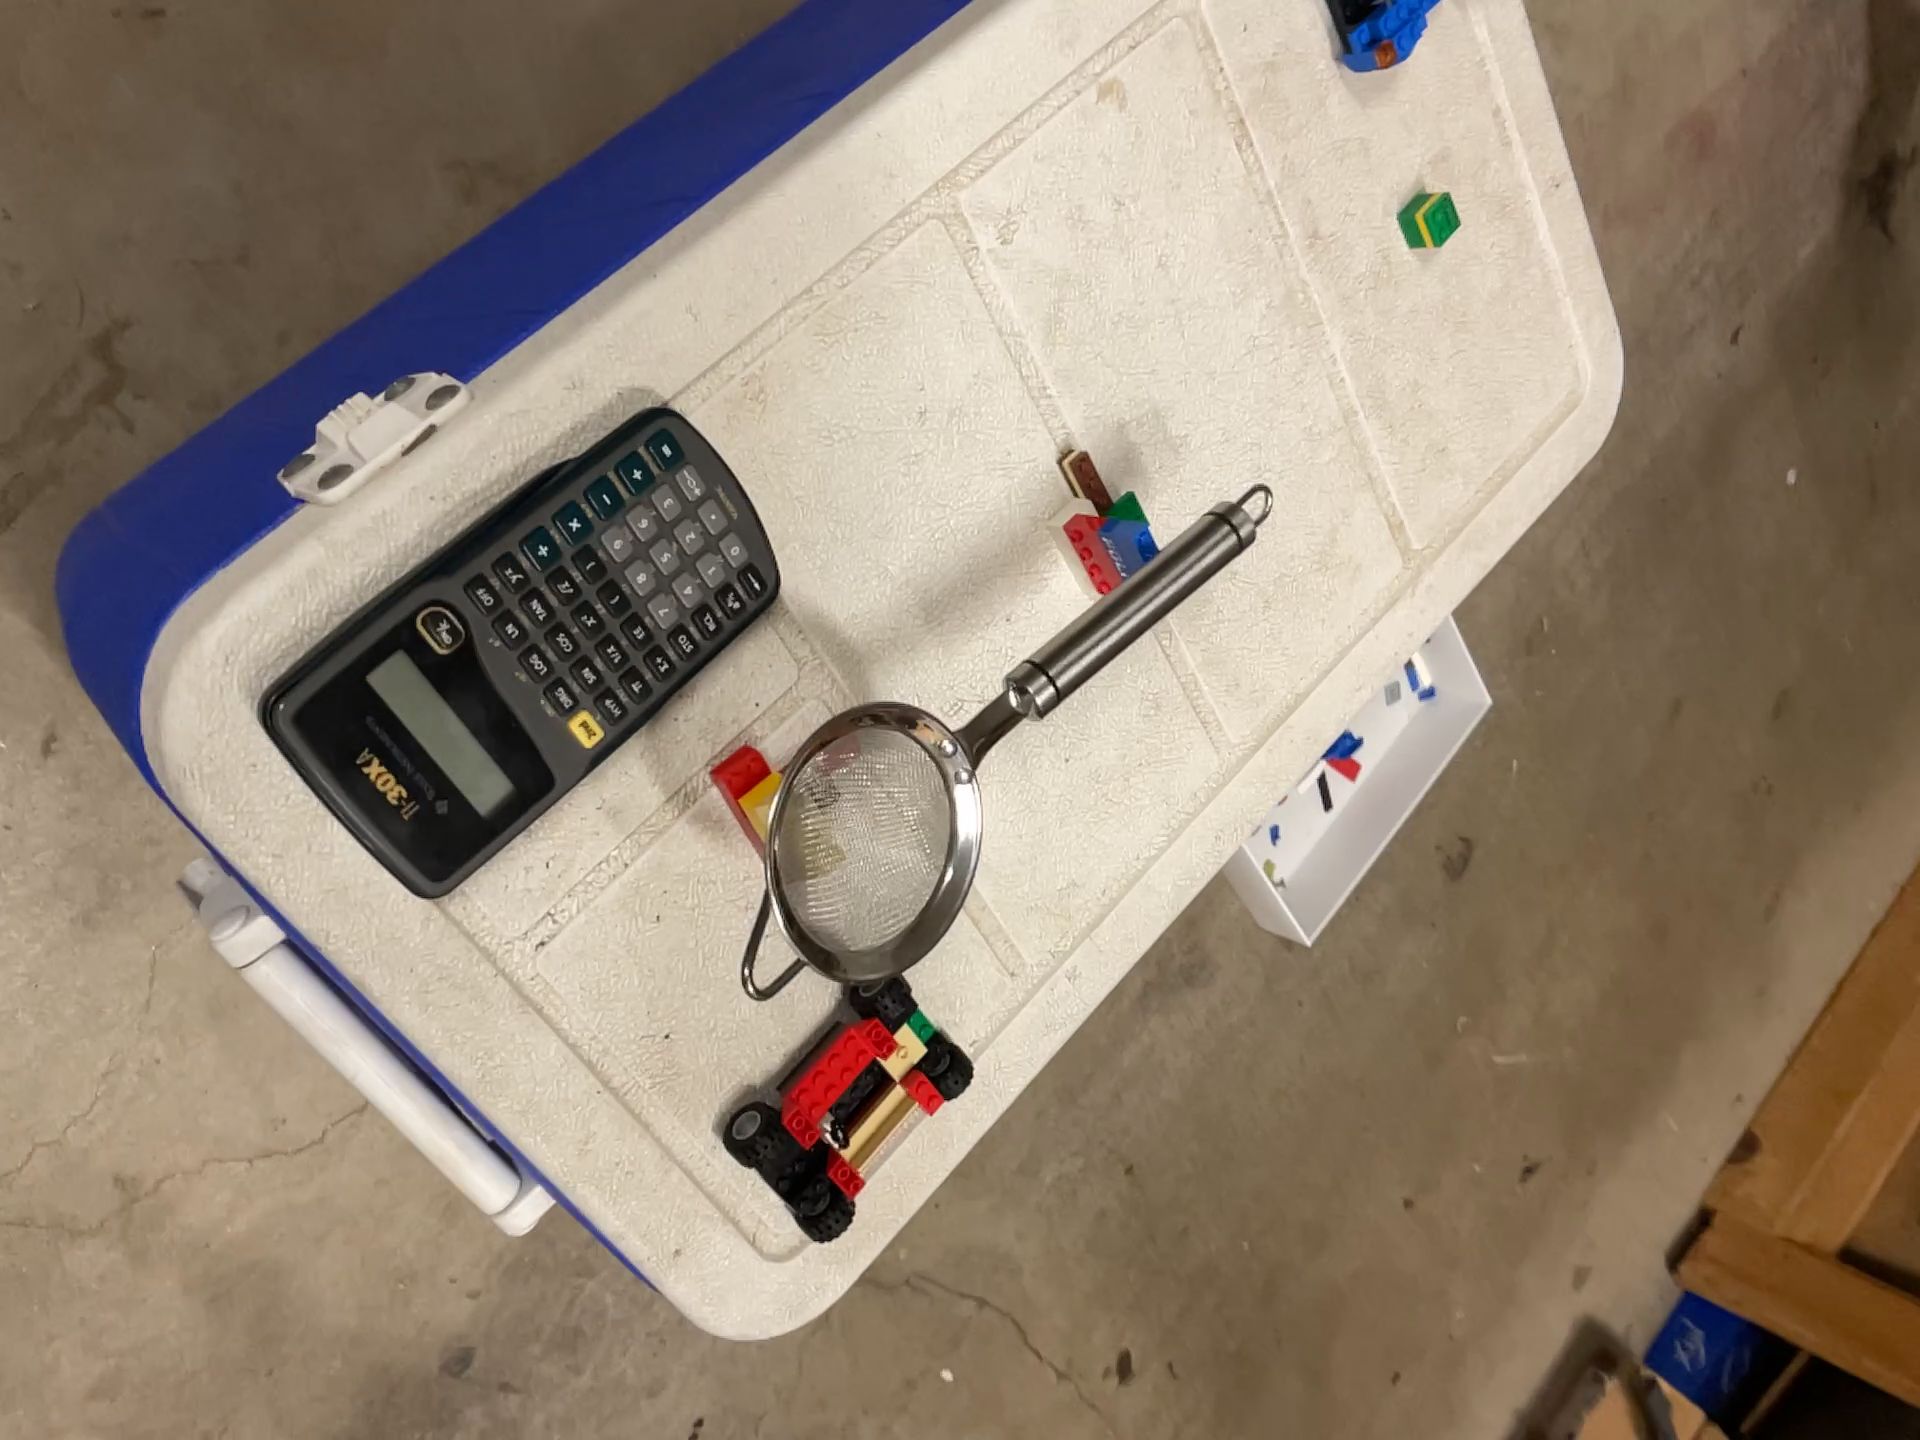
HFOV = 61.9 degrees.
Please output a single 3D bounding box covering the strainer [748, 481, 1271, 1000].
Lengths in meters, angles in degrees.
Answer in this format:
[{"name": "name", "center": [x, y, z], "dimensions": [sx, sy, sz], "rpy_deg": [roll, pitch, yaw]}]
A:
[{"name": "strainer", "center": [0.019, -0.004, 0.523], "dimensions": [0.259, 0.050, 0.086], "rpy_deg": [-40, 123, -23]}]
